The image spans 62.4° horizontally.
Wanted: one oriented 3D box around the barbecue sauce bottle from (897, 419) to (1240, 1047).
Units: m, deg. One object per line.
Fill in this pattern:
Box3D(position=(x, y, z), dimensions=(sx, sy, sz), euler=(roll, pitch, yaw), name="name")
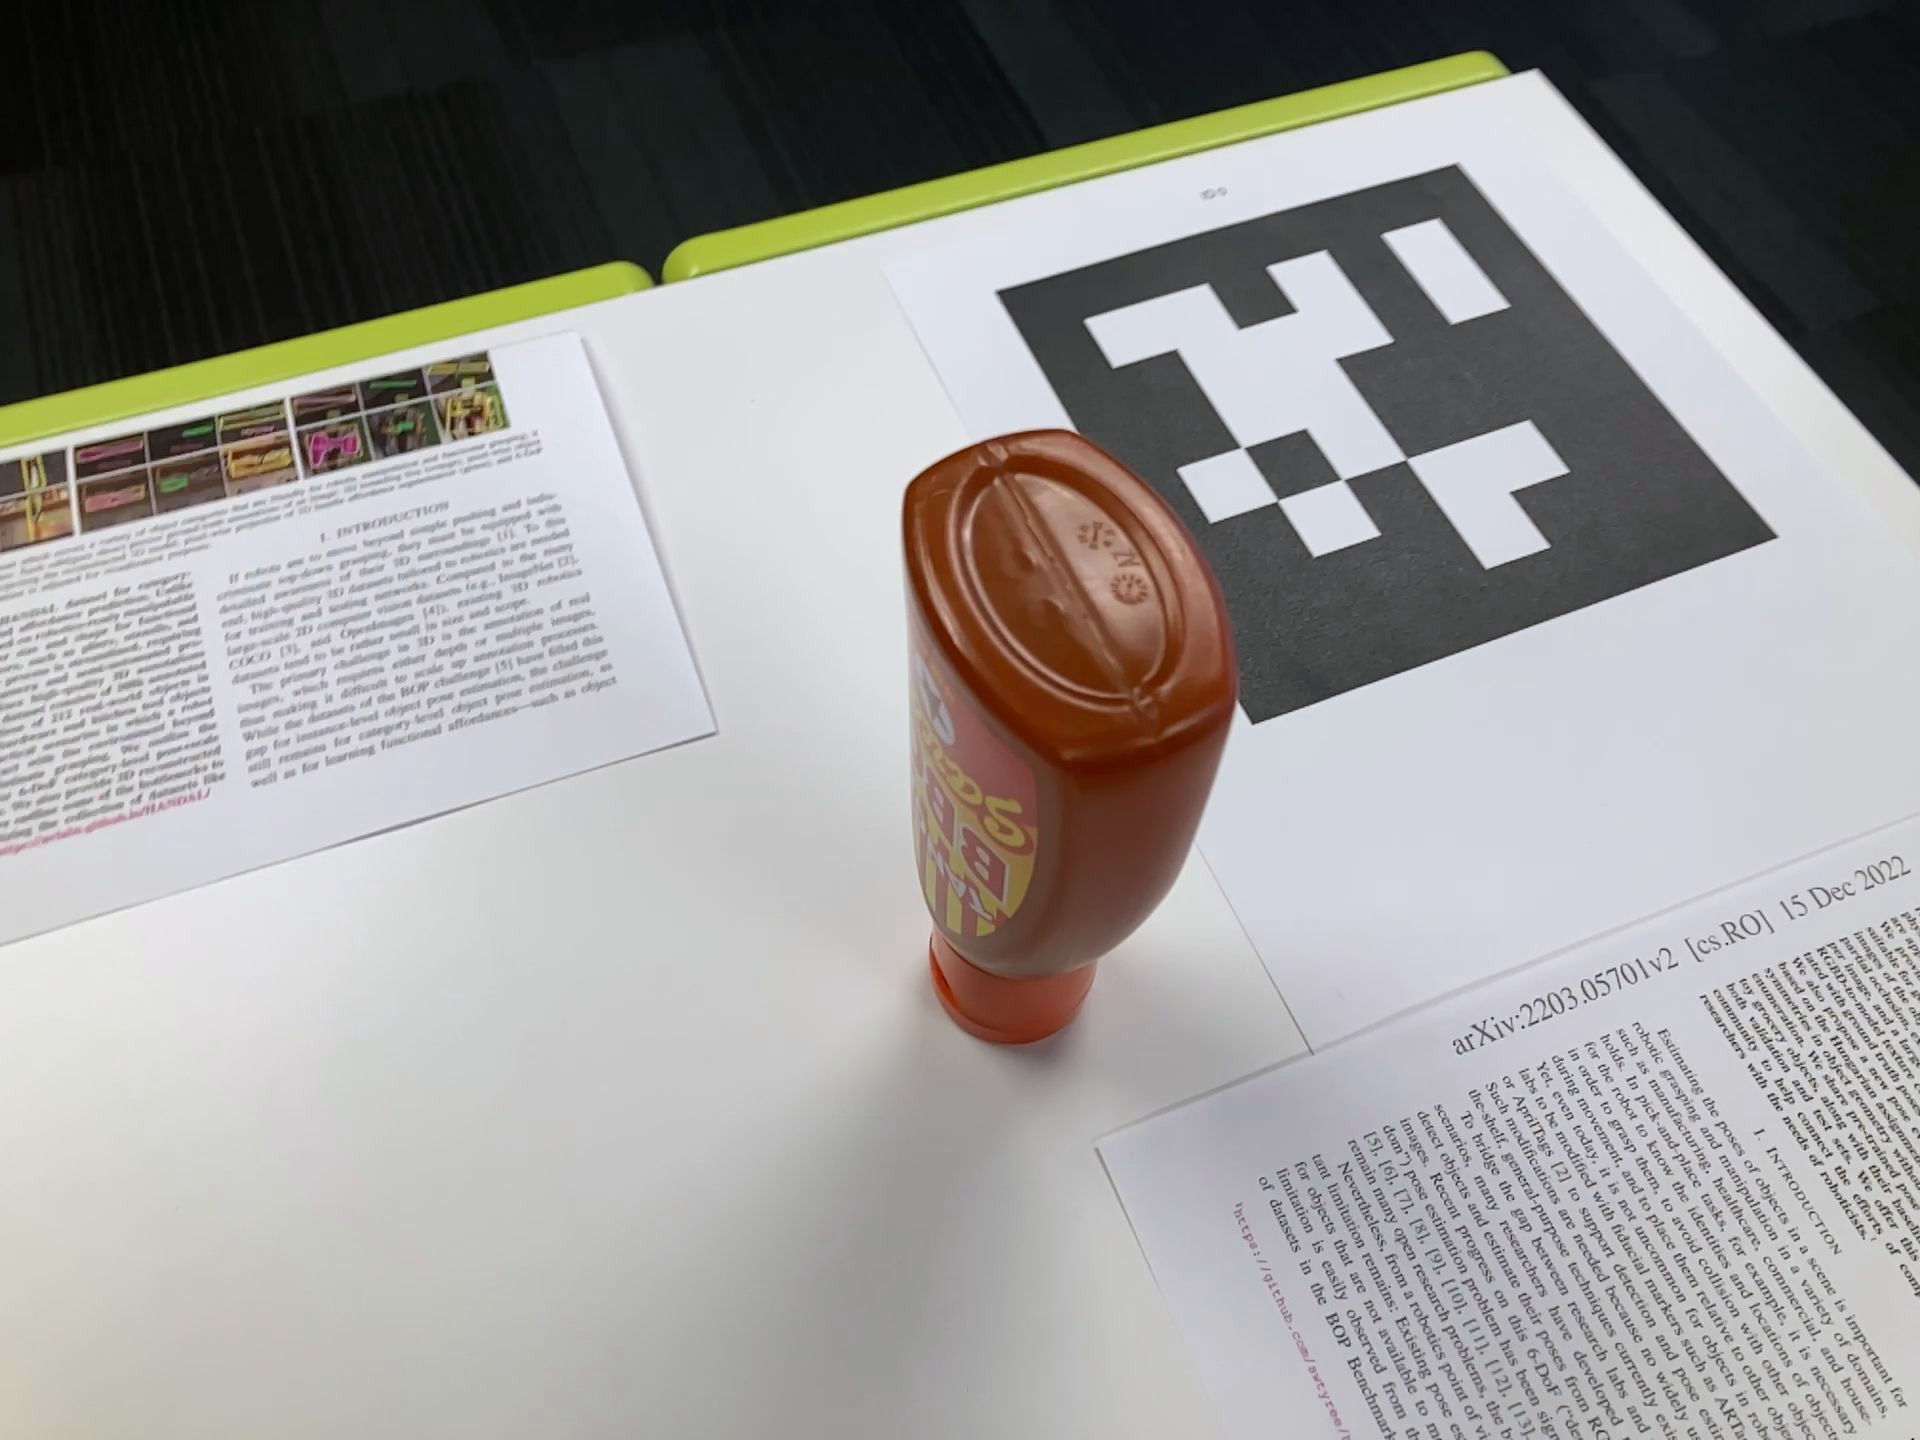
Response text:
Box3D(position=(0.014, 0.017, 0.291), dimensions=(0.043, 0.148, 0.065), euler=(-20, 61, -13), name="barbecue sauce bottle")
